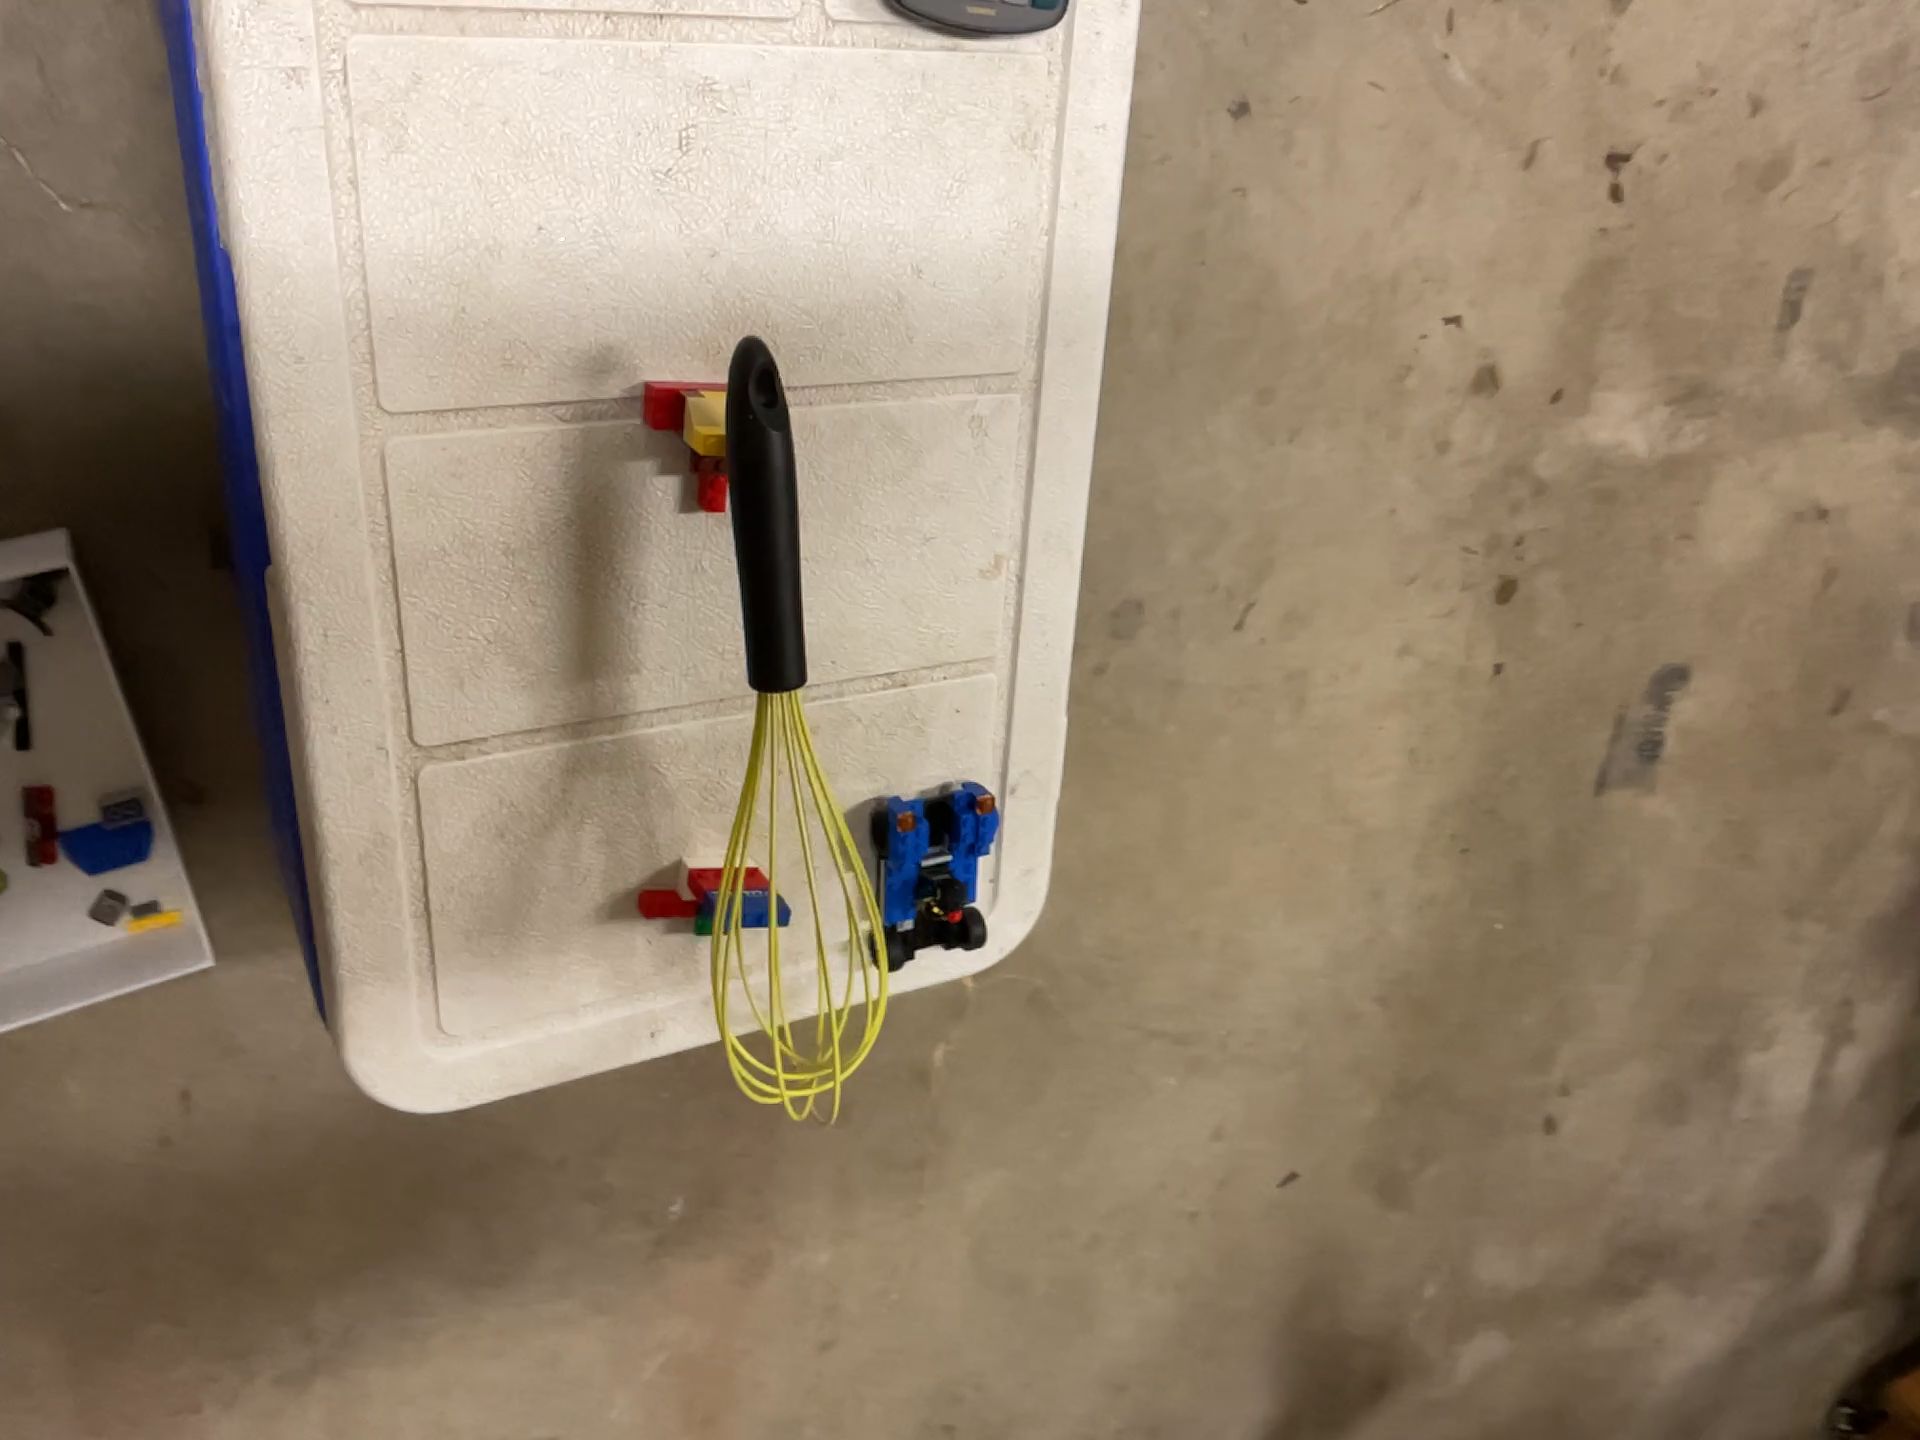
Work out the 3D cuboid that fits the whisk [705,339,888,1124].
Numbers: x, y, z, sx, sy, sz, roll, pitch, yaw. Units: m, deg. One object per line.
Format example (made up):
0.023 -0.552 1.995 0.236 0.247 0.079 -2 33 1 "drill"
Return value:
-0.069 0.014 0.606 0.080 0.067 0.311 -50 141 -64 "whisk"
